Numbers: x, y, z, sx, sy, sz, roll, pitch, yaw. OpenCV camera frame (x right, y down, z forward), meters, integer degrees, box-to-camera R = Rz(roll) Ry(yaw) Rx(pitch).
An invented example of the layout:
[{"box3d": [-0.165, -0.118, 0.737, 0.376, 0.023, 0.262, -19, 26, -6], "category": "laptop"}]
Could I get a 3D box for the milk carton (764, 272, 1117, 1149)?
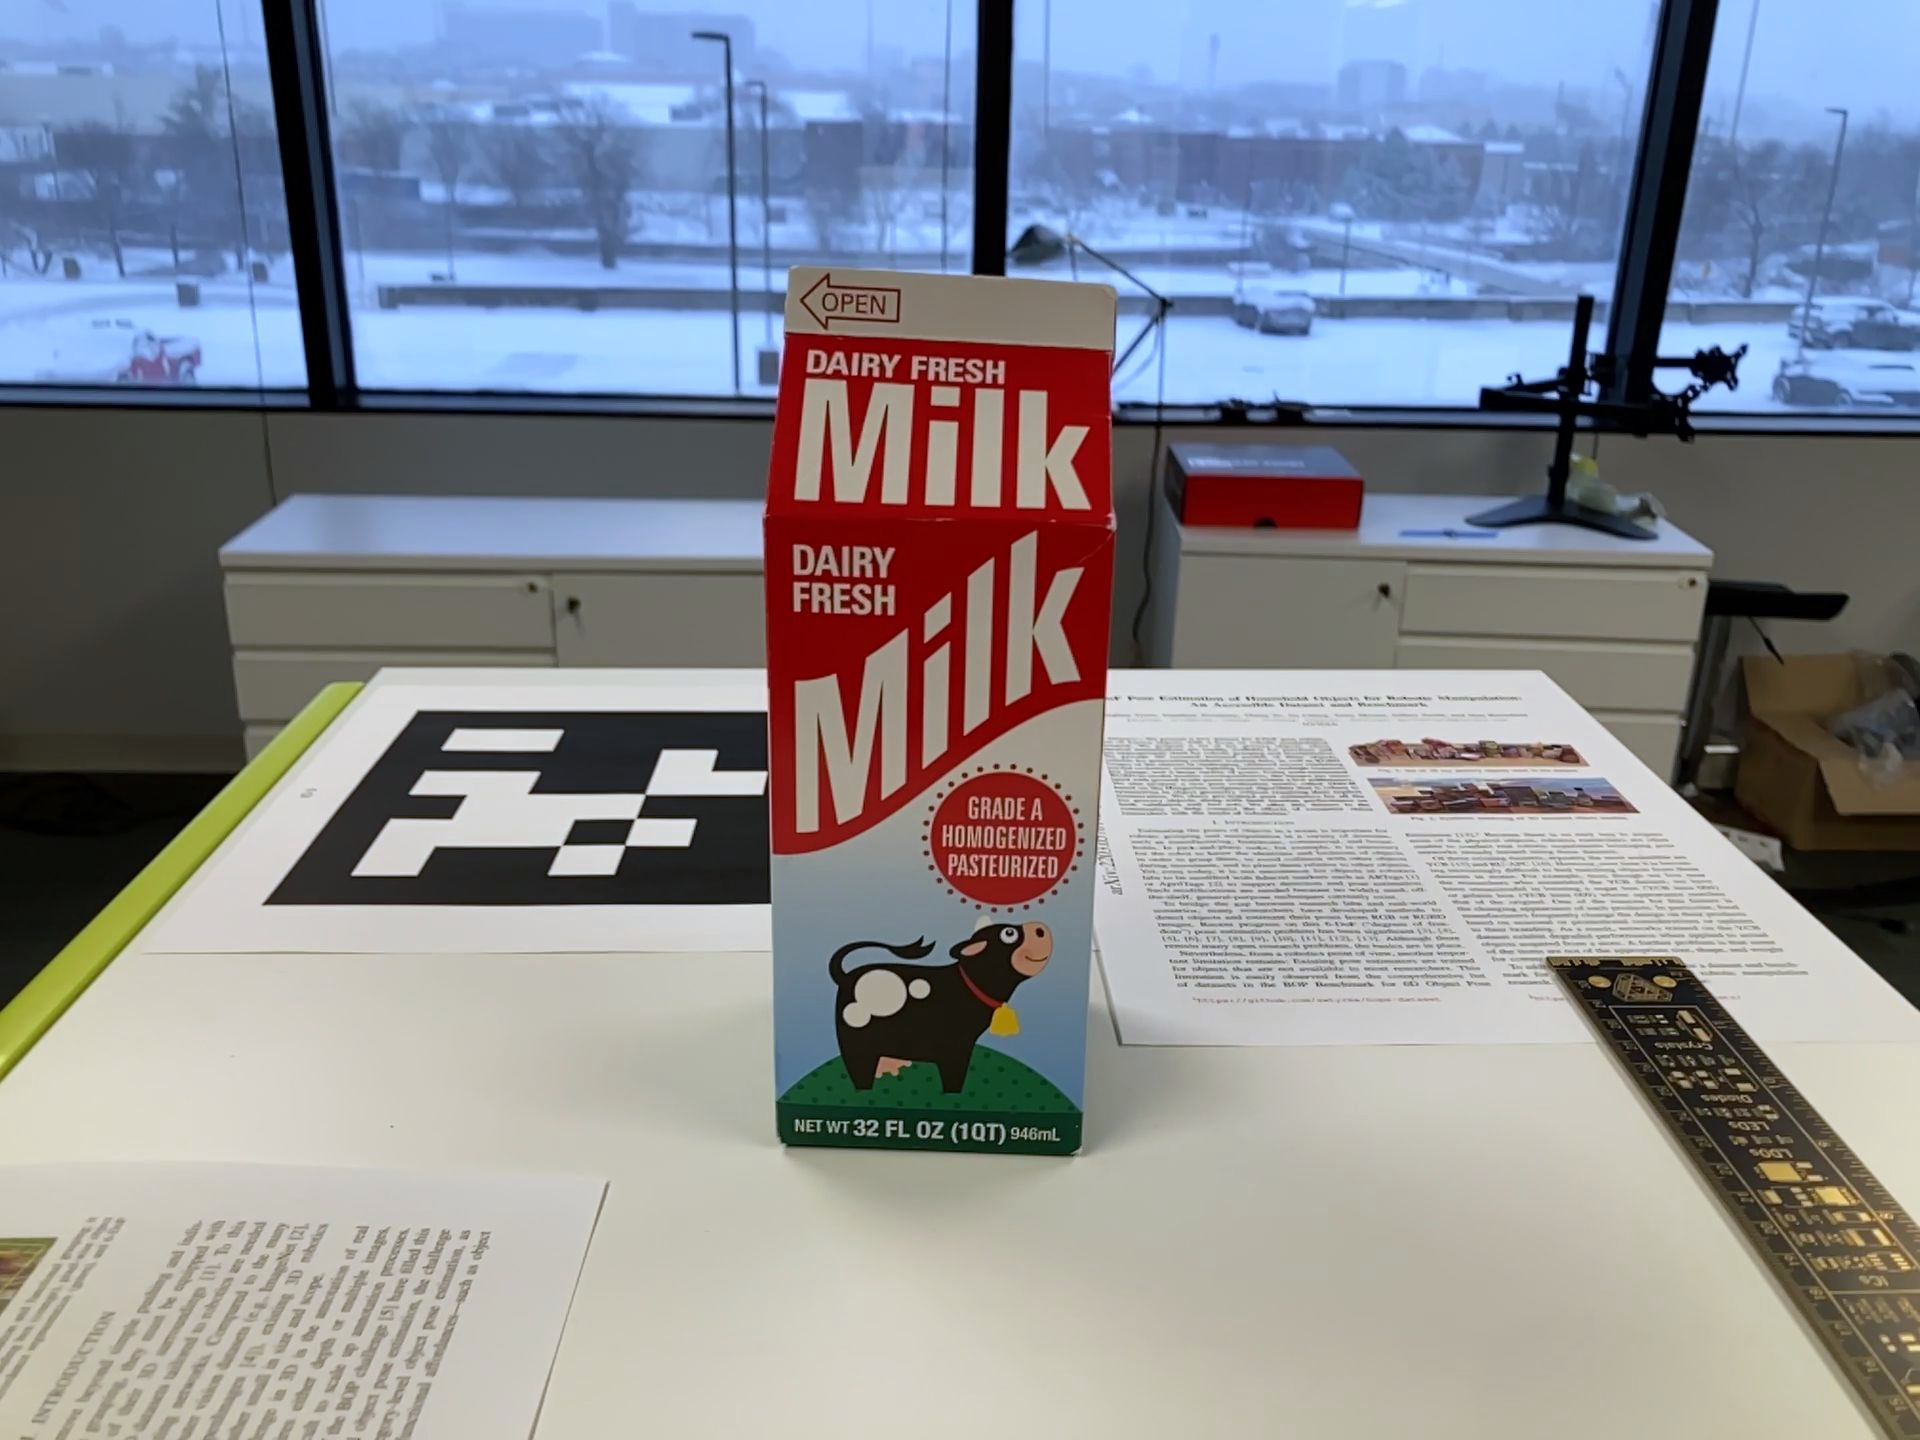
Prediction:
[{"box3d": [-0.004, -0.003, 0.365, 0.072, 0.190, 0.073, 2, 20, 1], "category": "milk carton"}]
